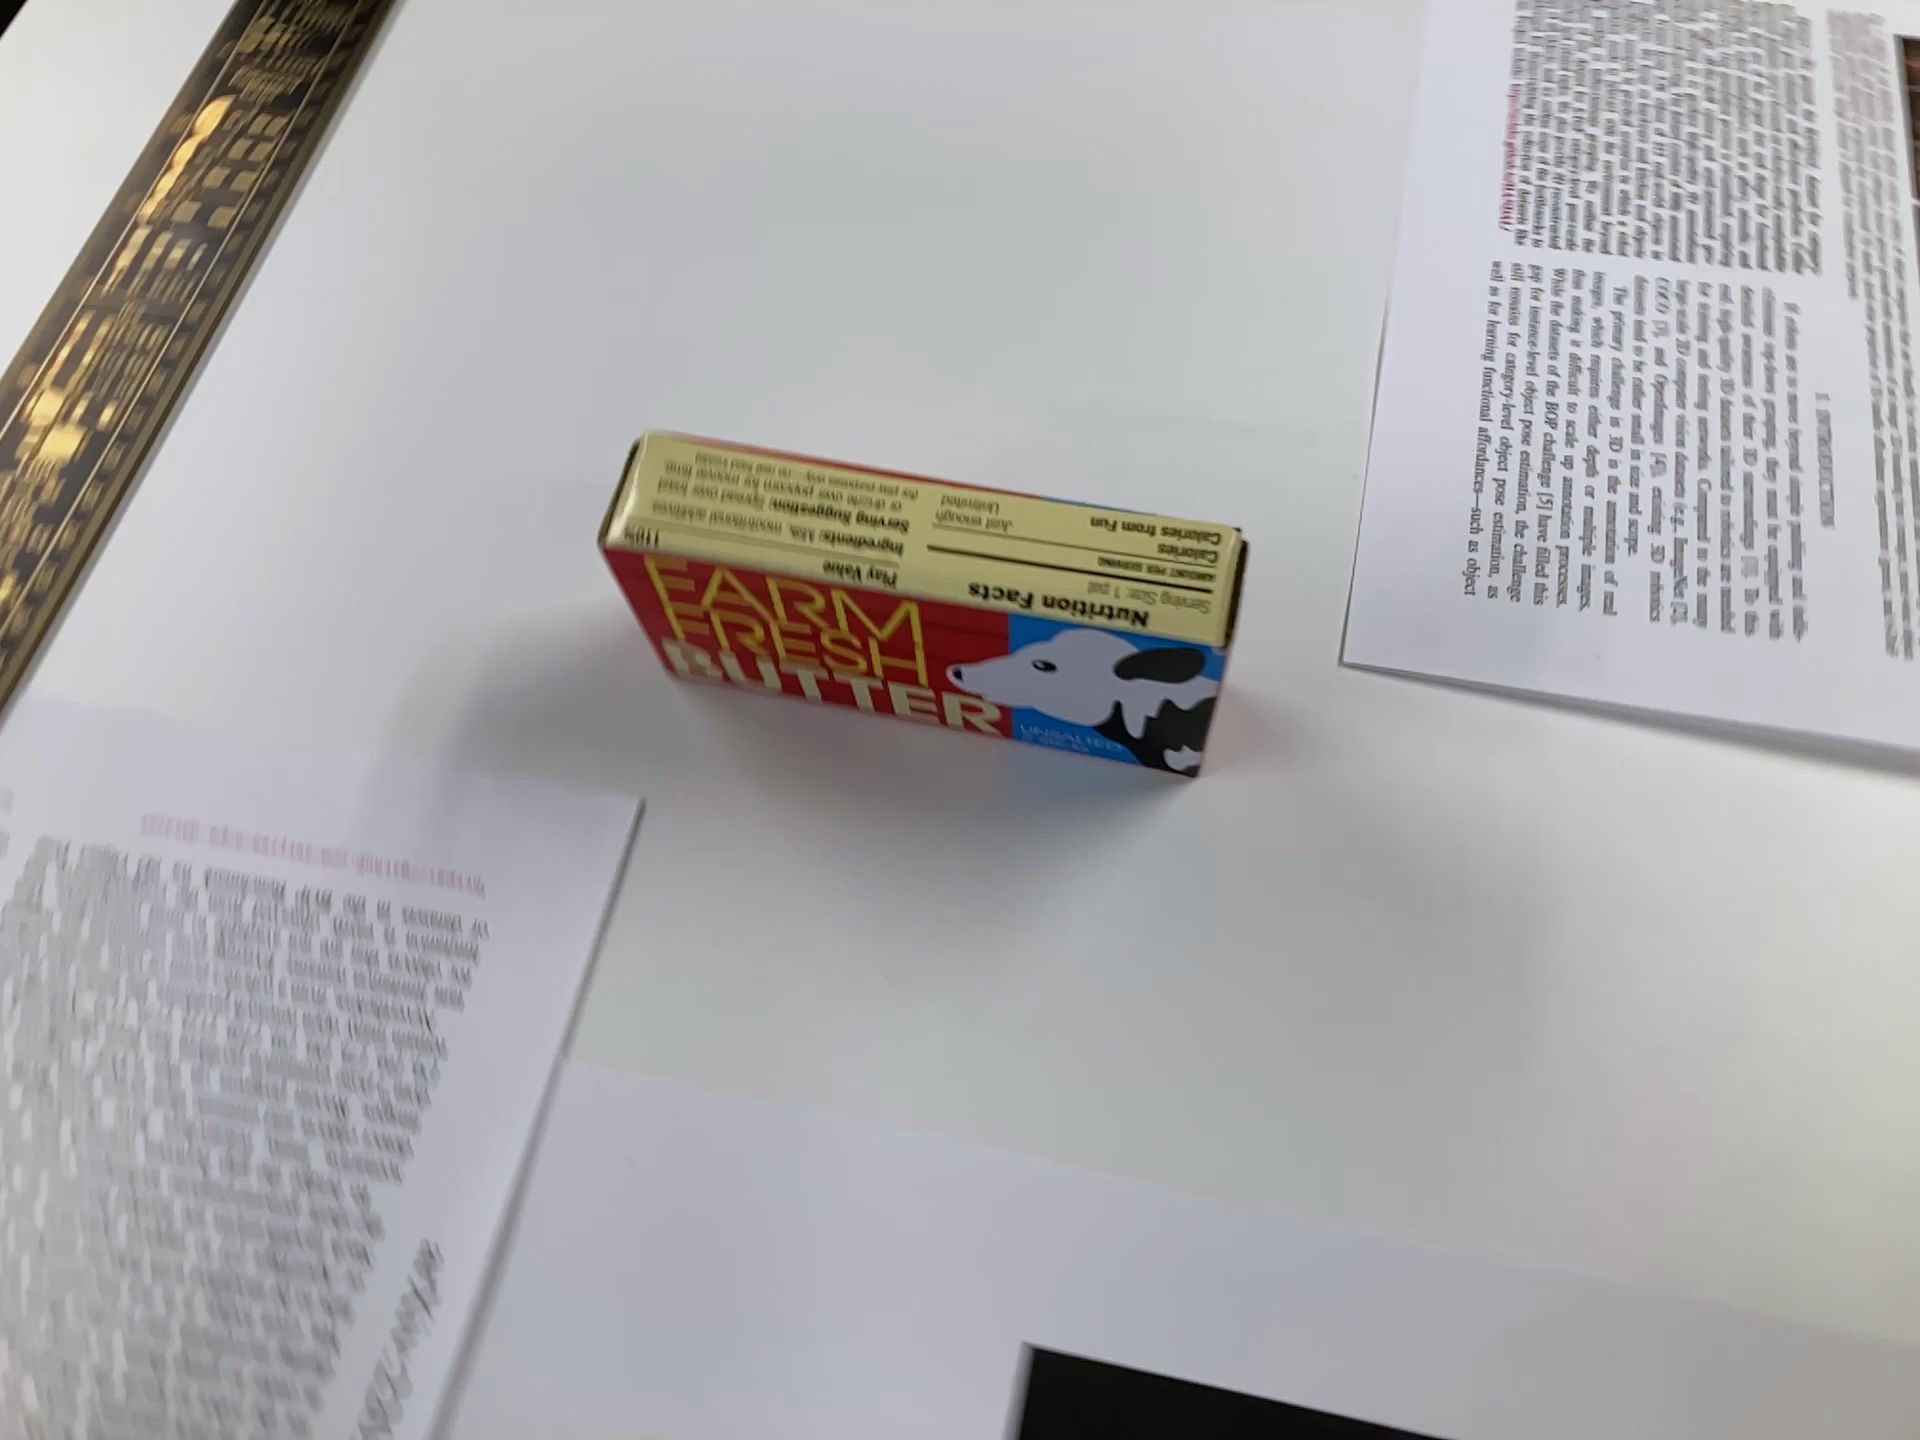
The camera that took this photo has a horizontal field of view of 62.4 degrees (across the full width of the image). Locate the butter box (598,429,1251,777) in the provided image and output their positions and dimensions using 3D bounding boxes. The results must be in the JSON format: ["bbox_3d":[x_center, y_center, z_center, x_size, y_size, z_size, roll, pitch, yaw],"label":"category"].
[{"bbox_3d":[-0.005,-0.019,0.273,0.103,0.053,0.024,10,66,7],"label":"butter box"}]
